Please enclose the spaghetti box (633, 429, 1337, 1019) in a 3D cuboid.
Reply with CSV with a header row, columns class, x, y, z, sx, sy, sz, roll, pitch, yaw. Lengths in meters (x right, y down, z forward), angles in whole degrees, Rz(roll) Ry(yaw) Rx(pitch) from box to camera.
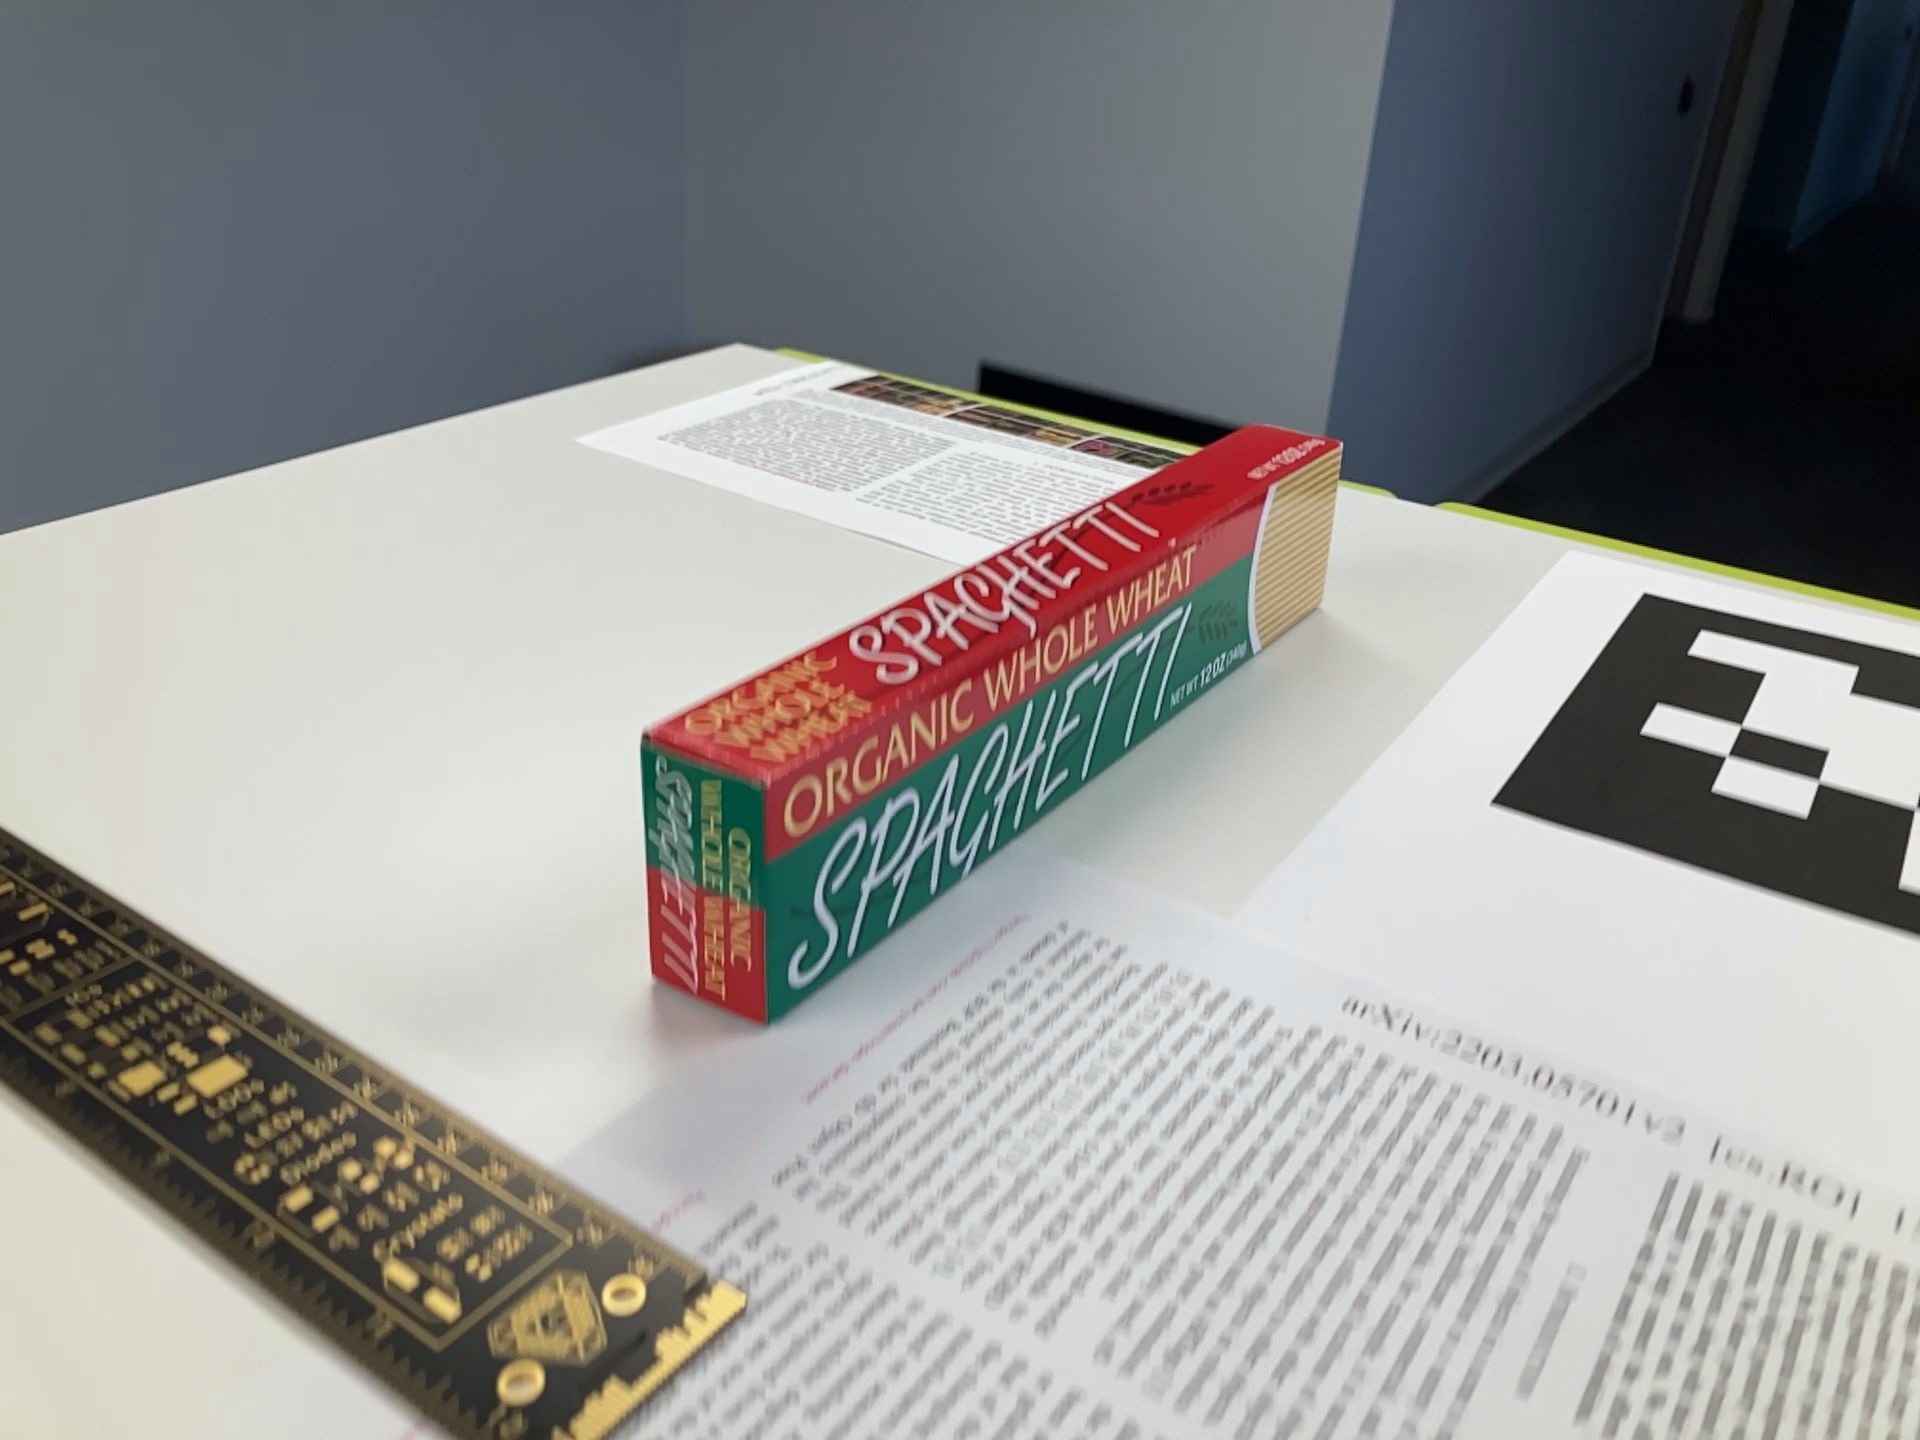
class,x,y,z,sx,sy,sz,roll,pitch,yaw
spaghetti box,0.024,-0.015,0.362,0.028,0.050,0.250,17,30,29
